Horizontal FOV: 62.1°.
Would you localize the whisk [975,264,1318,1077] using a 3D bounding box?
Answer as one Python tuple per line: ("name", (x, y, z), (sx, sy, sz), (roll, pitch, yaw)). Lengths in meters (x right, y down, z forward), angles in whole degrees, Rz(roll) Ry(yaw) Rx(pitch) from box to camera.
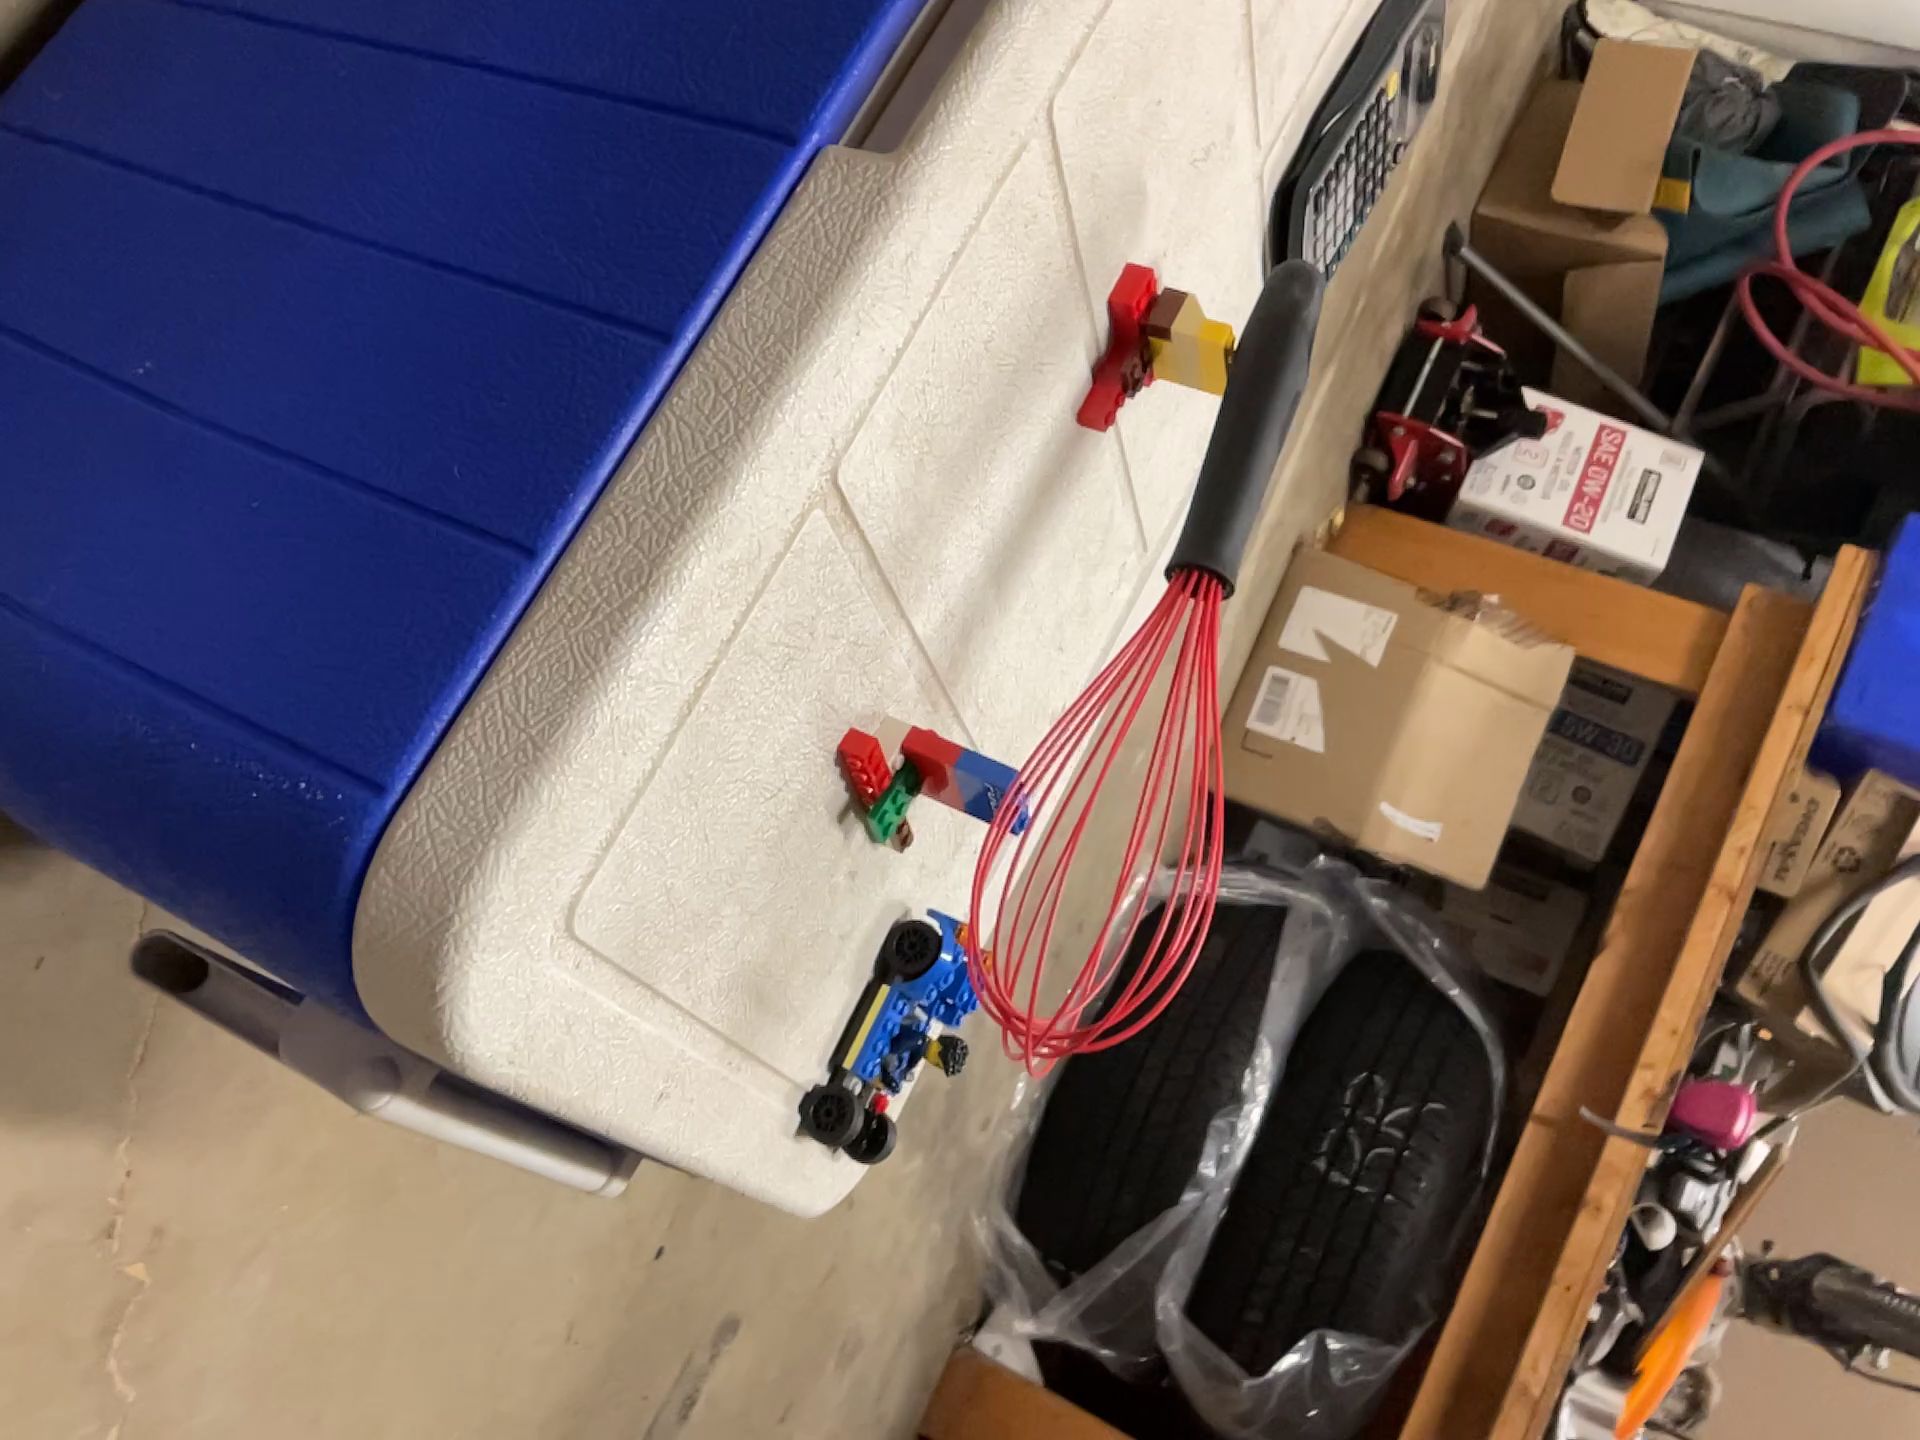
("whisk", (0.070, -0.028, 0.507), (0.073, 0.073, 0.296), (61, 45, -59))
